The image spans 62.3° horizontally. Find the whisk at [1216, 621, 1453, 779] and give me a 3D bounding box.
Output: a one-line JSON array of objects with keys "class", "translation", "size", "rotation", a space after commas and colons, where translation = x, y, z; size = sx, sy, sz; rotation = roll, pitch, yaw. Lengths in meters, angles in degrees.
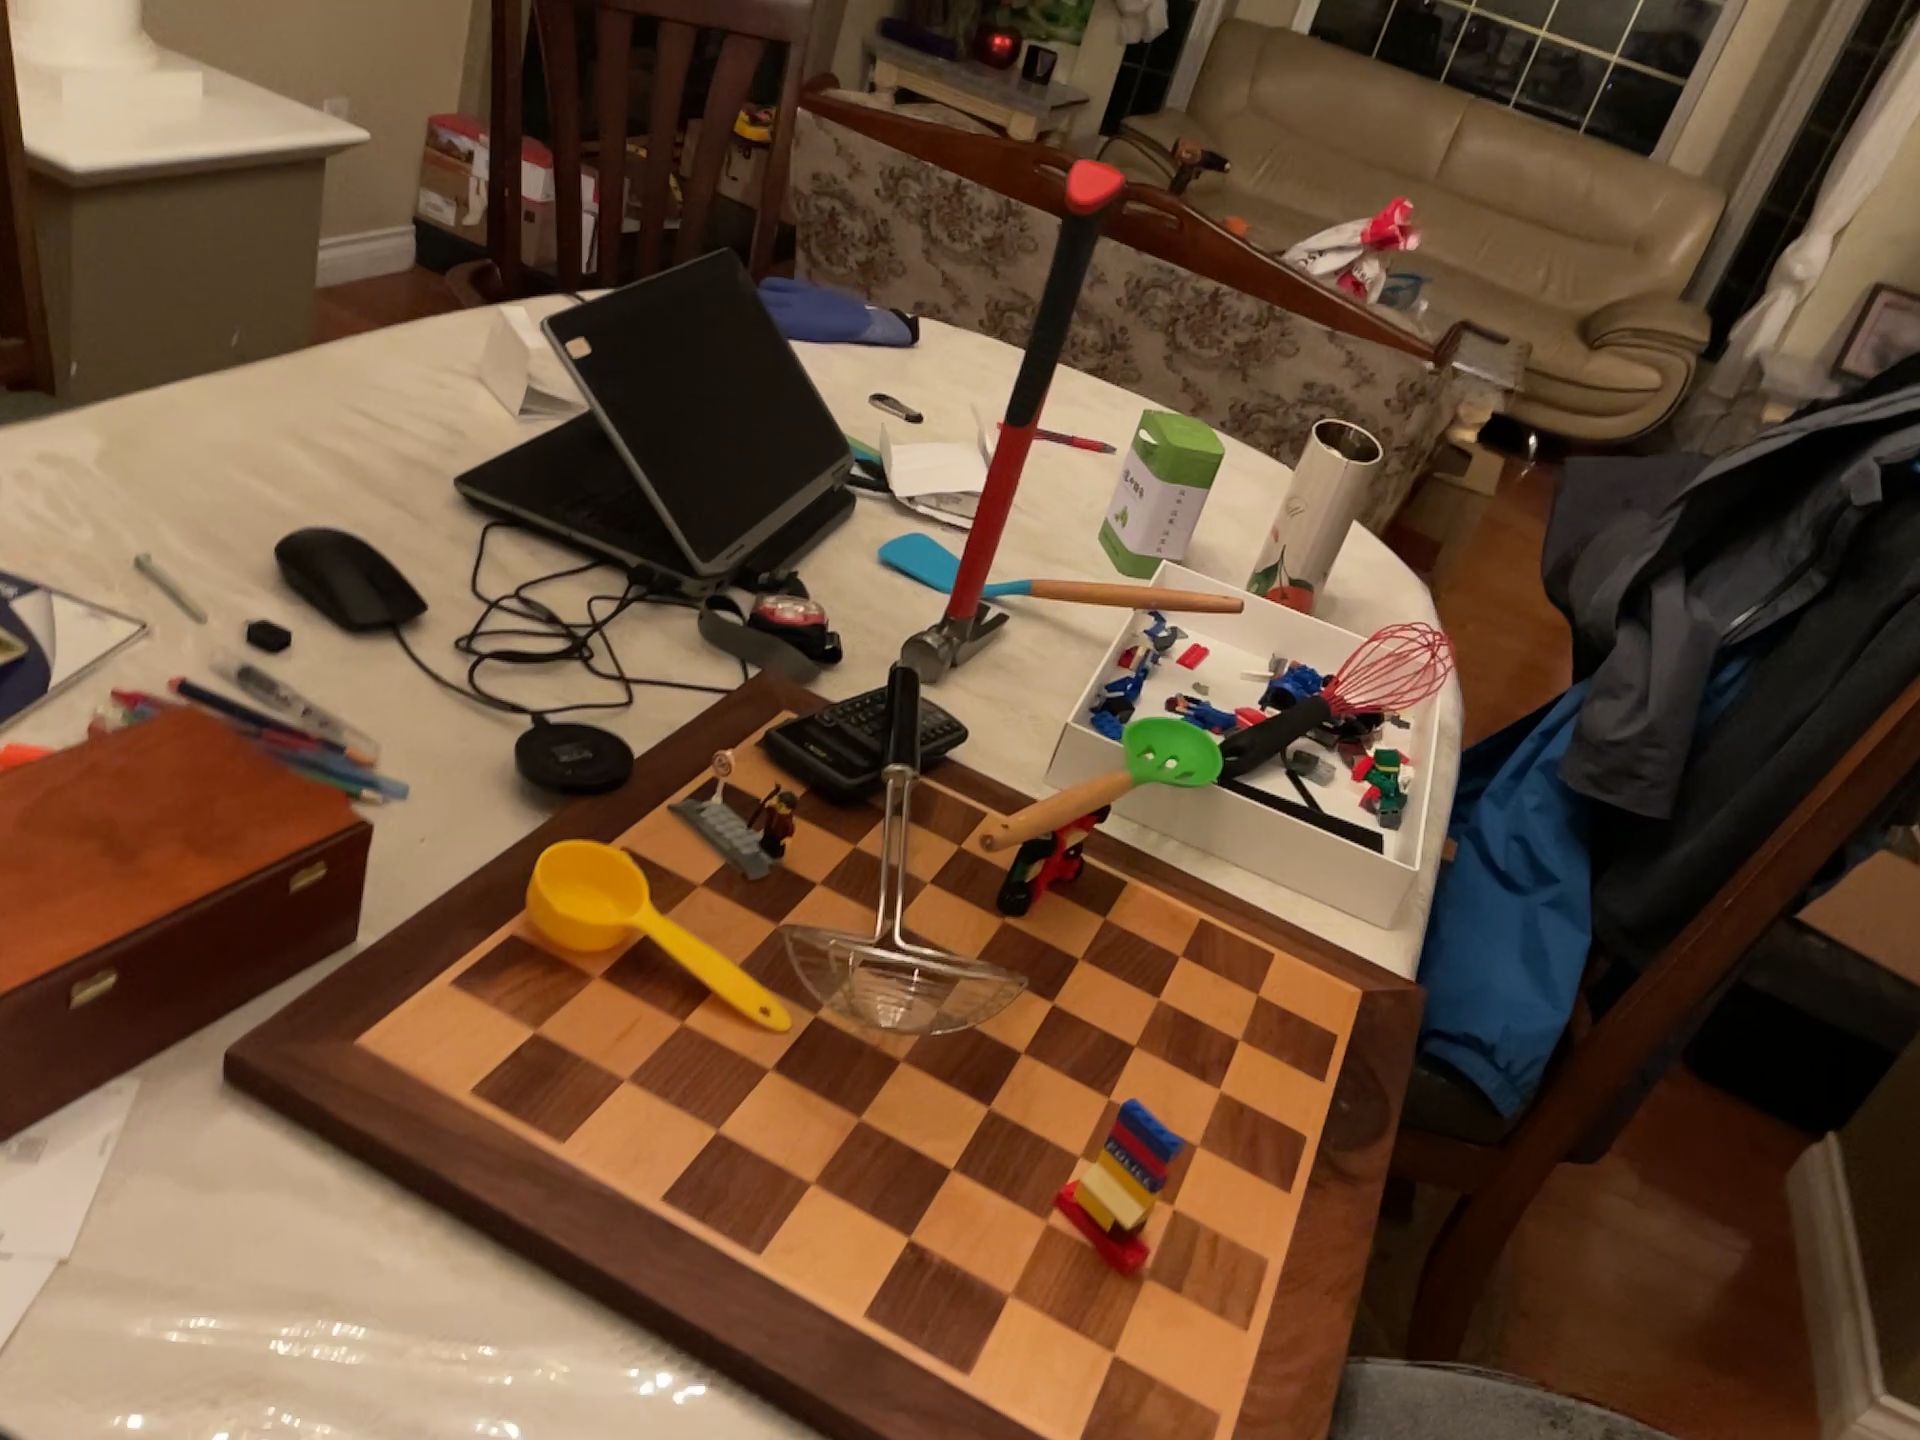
[{"class": "whisk", "translation": [0.303, -0.014, 1.286], "size": [0.295, 0.073, 0.073], "rotation": [-25, 31, -33]}]

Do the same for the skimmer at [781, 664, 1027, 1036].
[{"class": "skimmer", "translation": [-0.029, 0.049, 0.922], "size": [0.127, 0.090, 0.363], "rotation": [12, 34, -8]}]

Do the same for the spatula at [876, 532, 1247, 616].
[{"class": "spatula", "translation": [0.084, -0.118, 1.326], "size": [0.318, 0.044, 0.082], "rotation": [8, 22, 25]}]

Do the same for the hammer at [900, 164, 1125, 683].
[{"class": "hammer", "translation": [0.048, -0.214, 1.174], "size": [0.038, 0.386, 0.143], "rotation": [26, 30, 14]}]

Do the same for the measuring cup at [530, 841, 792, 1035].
[{"class": "measuring cup", "translation": [-0.154, 0.120, 0.816], "size": [0.156, 0.029, 0.062], "rotation": [36, 28, 6]}]

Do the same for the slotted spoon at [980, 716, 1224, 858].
[{"class": "slotted spoon", "translation": [0.088, 0.042, 0.975], "size": [0.070, 0.031, 0.313], "rotation": [33, 23, 20]}]
